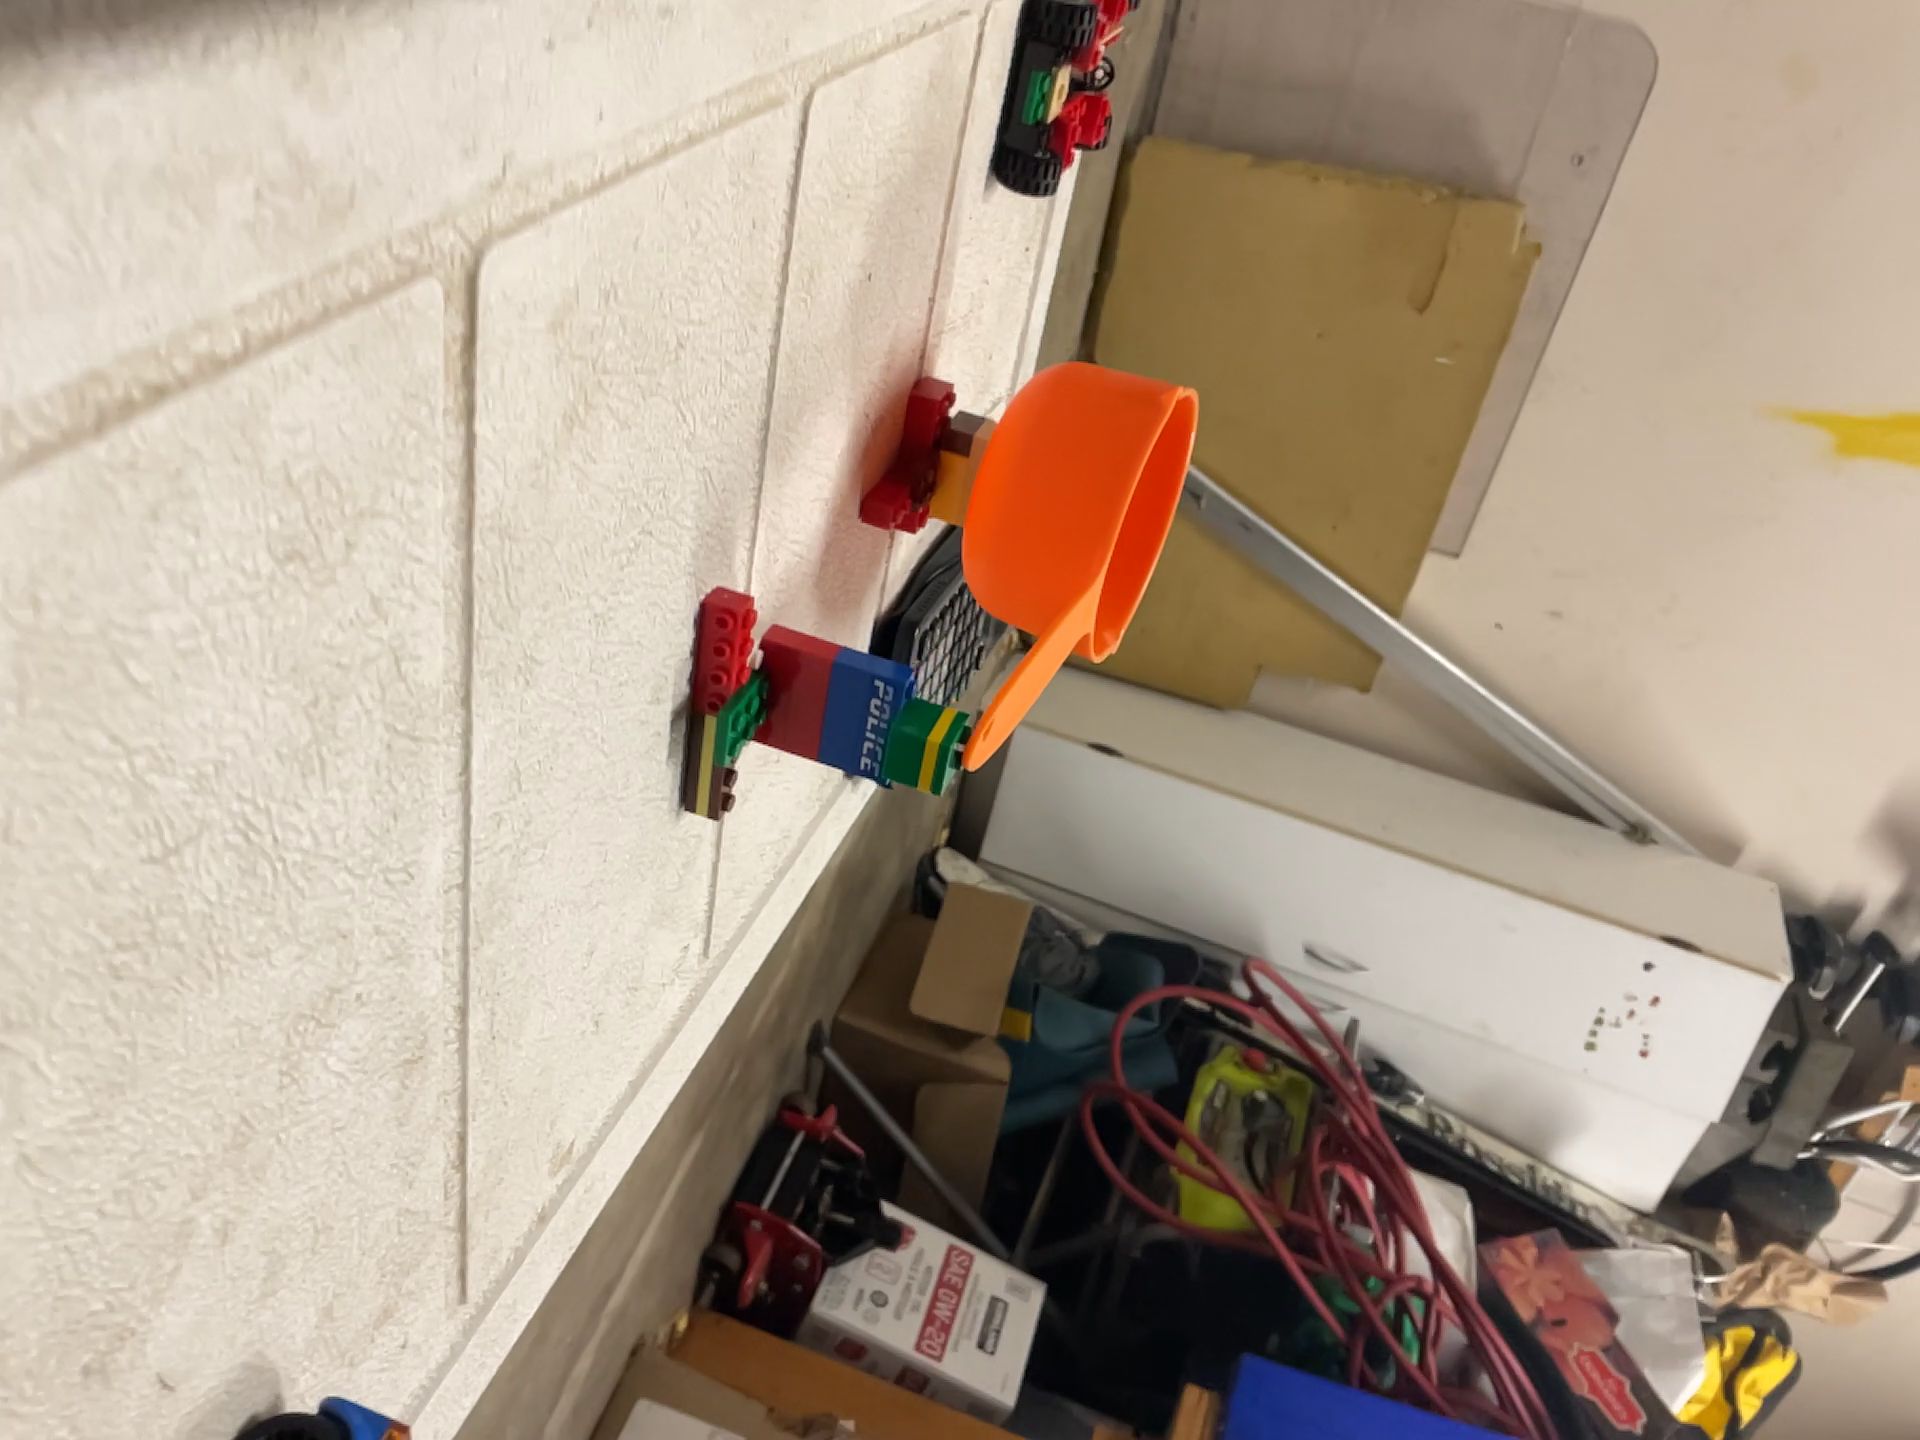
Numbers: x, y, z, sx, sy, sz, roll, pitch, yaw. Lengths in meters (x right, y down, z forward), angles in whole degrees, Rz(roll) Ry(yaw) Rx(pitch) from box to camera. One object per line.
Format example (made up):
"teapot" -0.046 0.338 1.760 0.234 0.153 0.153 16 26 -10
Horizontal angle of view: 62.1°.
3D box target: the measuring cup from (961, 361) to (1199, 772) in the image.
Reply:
"measuring cup" 0.018 -0.044 0.463 0.174 0.052 0.095 -53 159 -48
